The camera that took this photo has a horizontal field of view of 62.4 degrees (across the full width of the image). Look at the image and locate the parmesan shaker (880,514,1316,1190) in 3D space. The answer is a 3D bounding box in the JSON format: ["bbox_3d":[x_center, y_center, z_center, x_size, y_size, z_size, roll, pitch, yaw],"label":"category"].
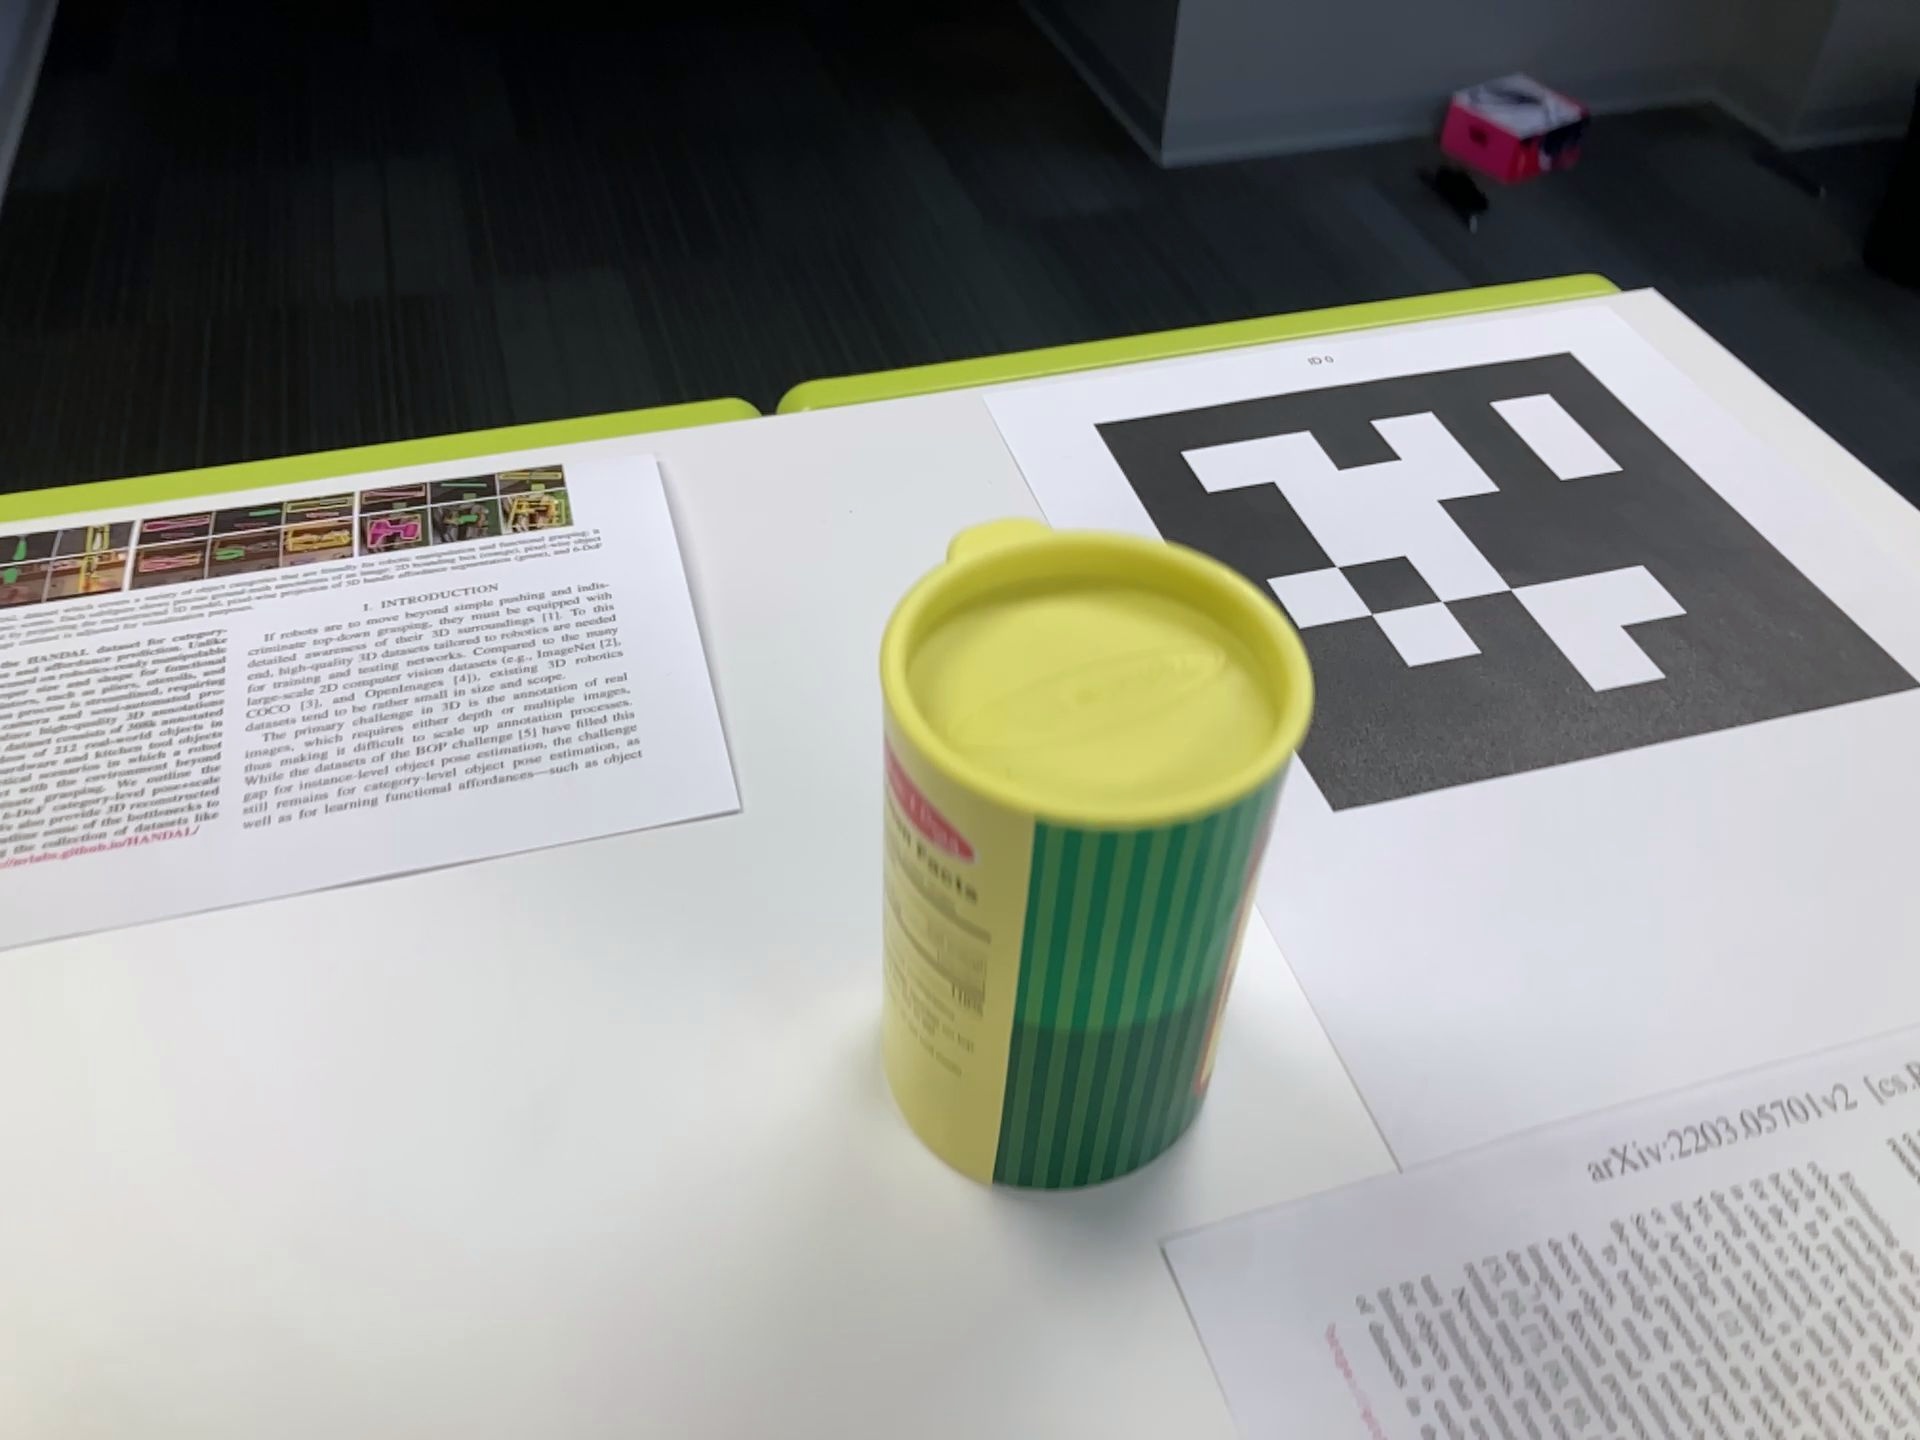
[{"bbox_3d":[0.018,0.025,0.279,0.071,0.103,0.071,1,45,-1],"label":"parmesan shaker"}]
